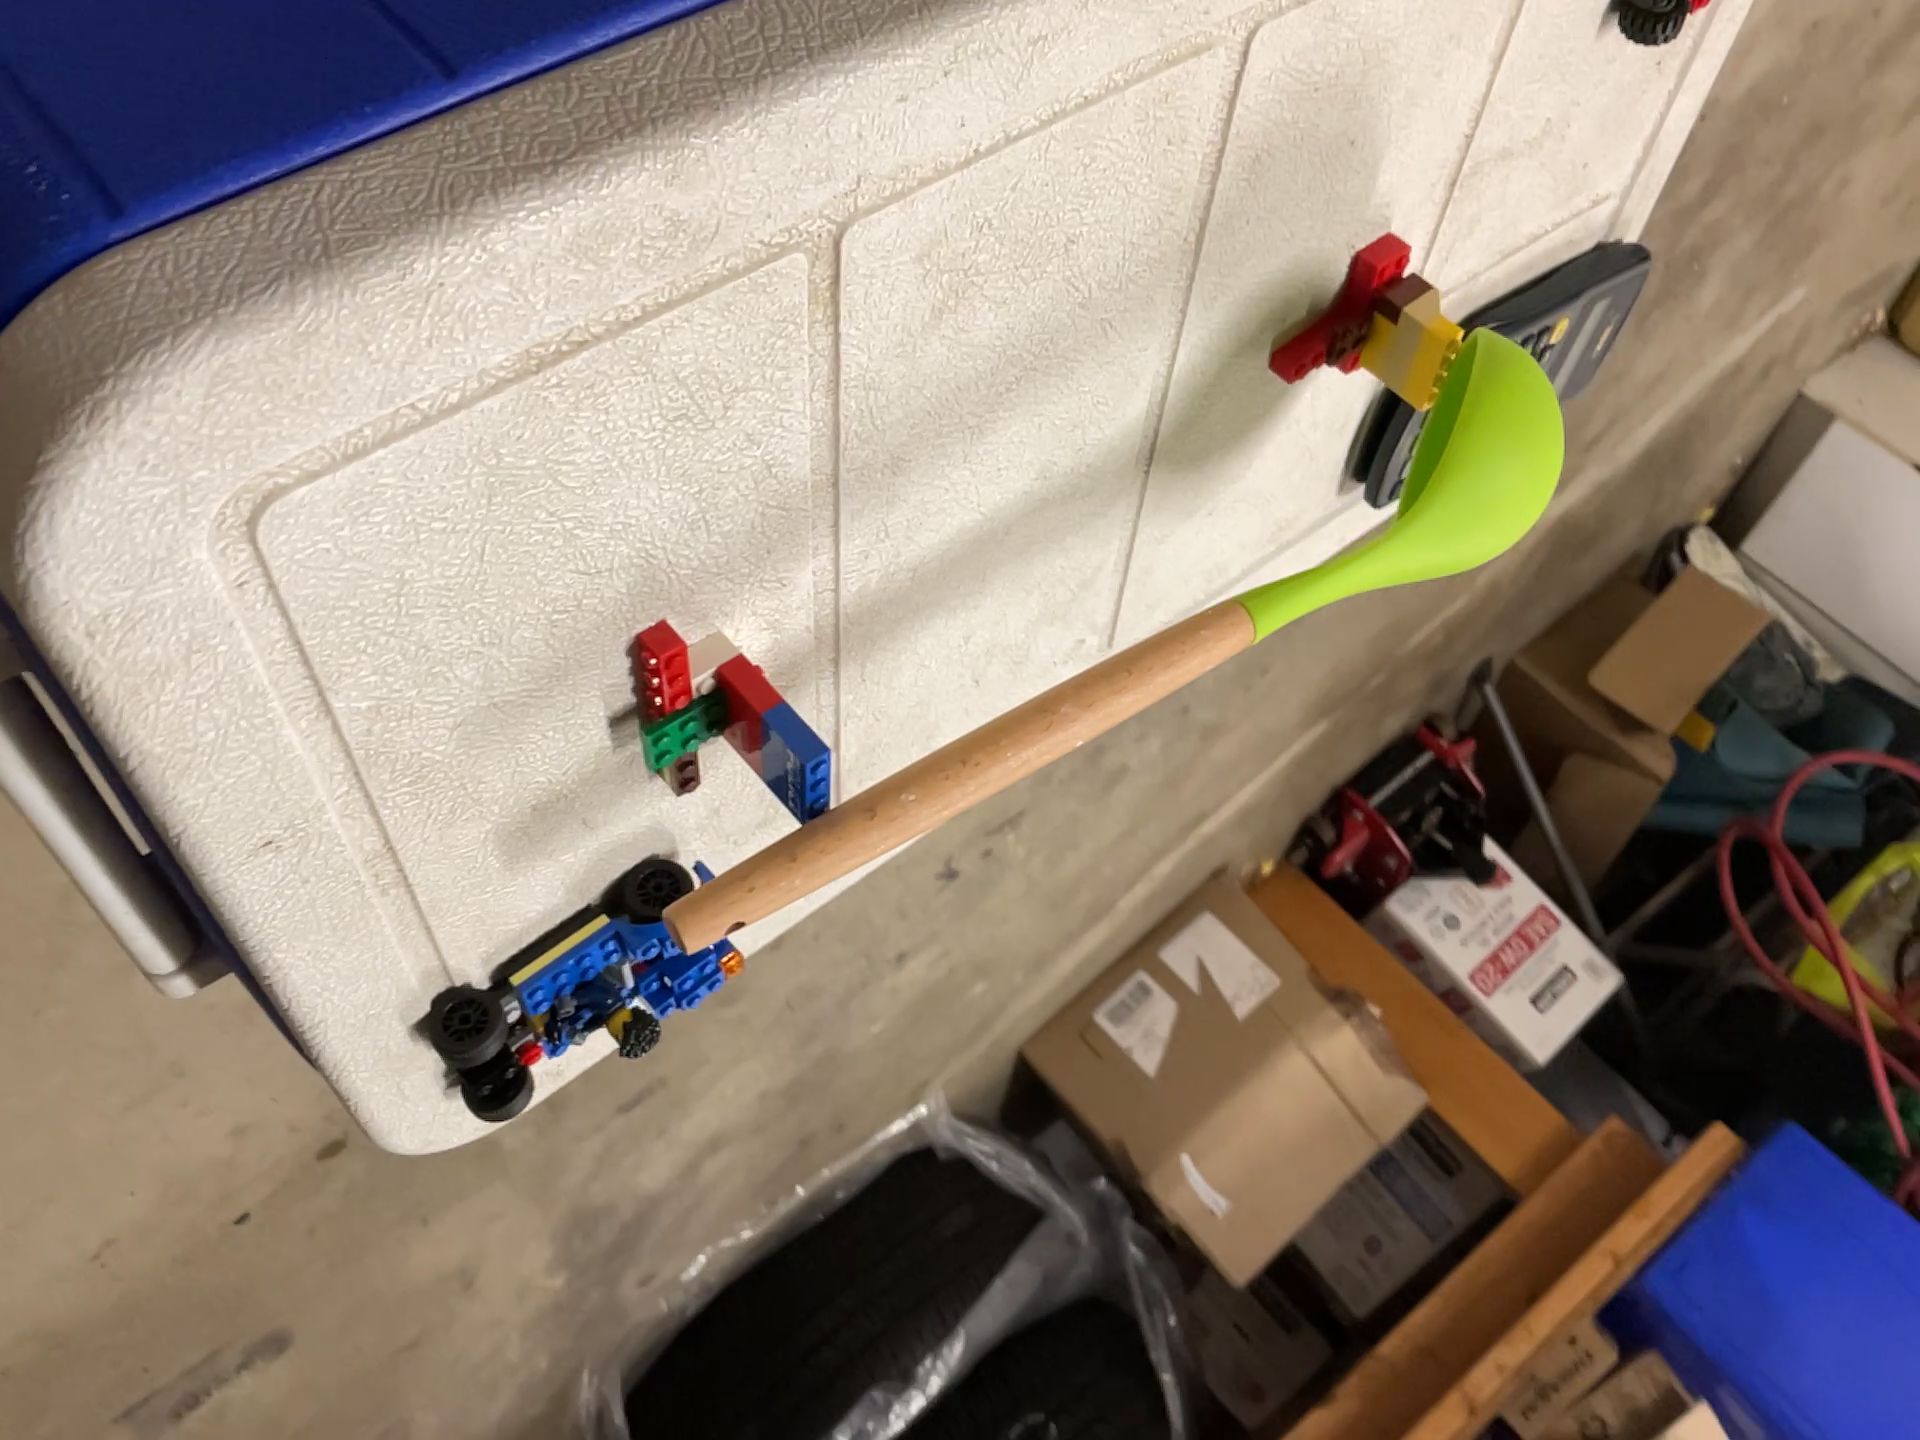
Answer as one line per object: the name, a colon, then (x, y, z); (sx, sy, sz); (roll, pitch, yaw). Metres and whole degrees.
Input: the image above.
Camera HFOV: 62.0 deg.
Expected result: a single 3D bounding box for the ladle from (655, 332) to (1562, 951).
ladle: (0.052, -0.026, 0.458); (0.320, 0.062, 0.078); (-28, 158, -20)
